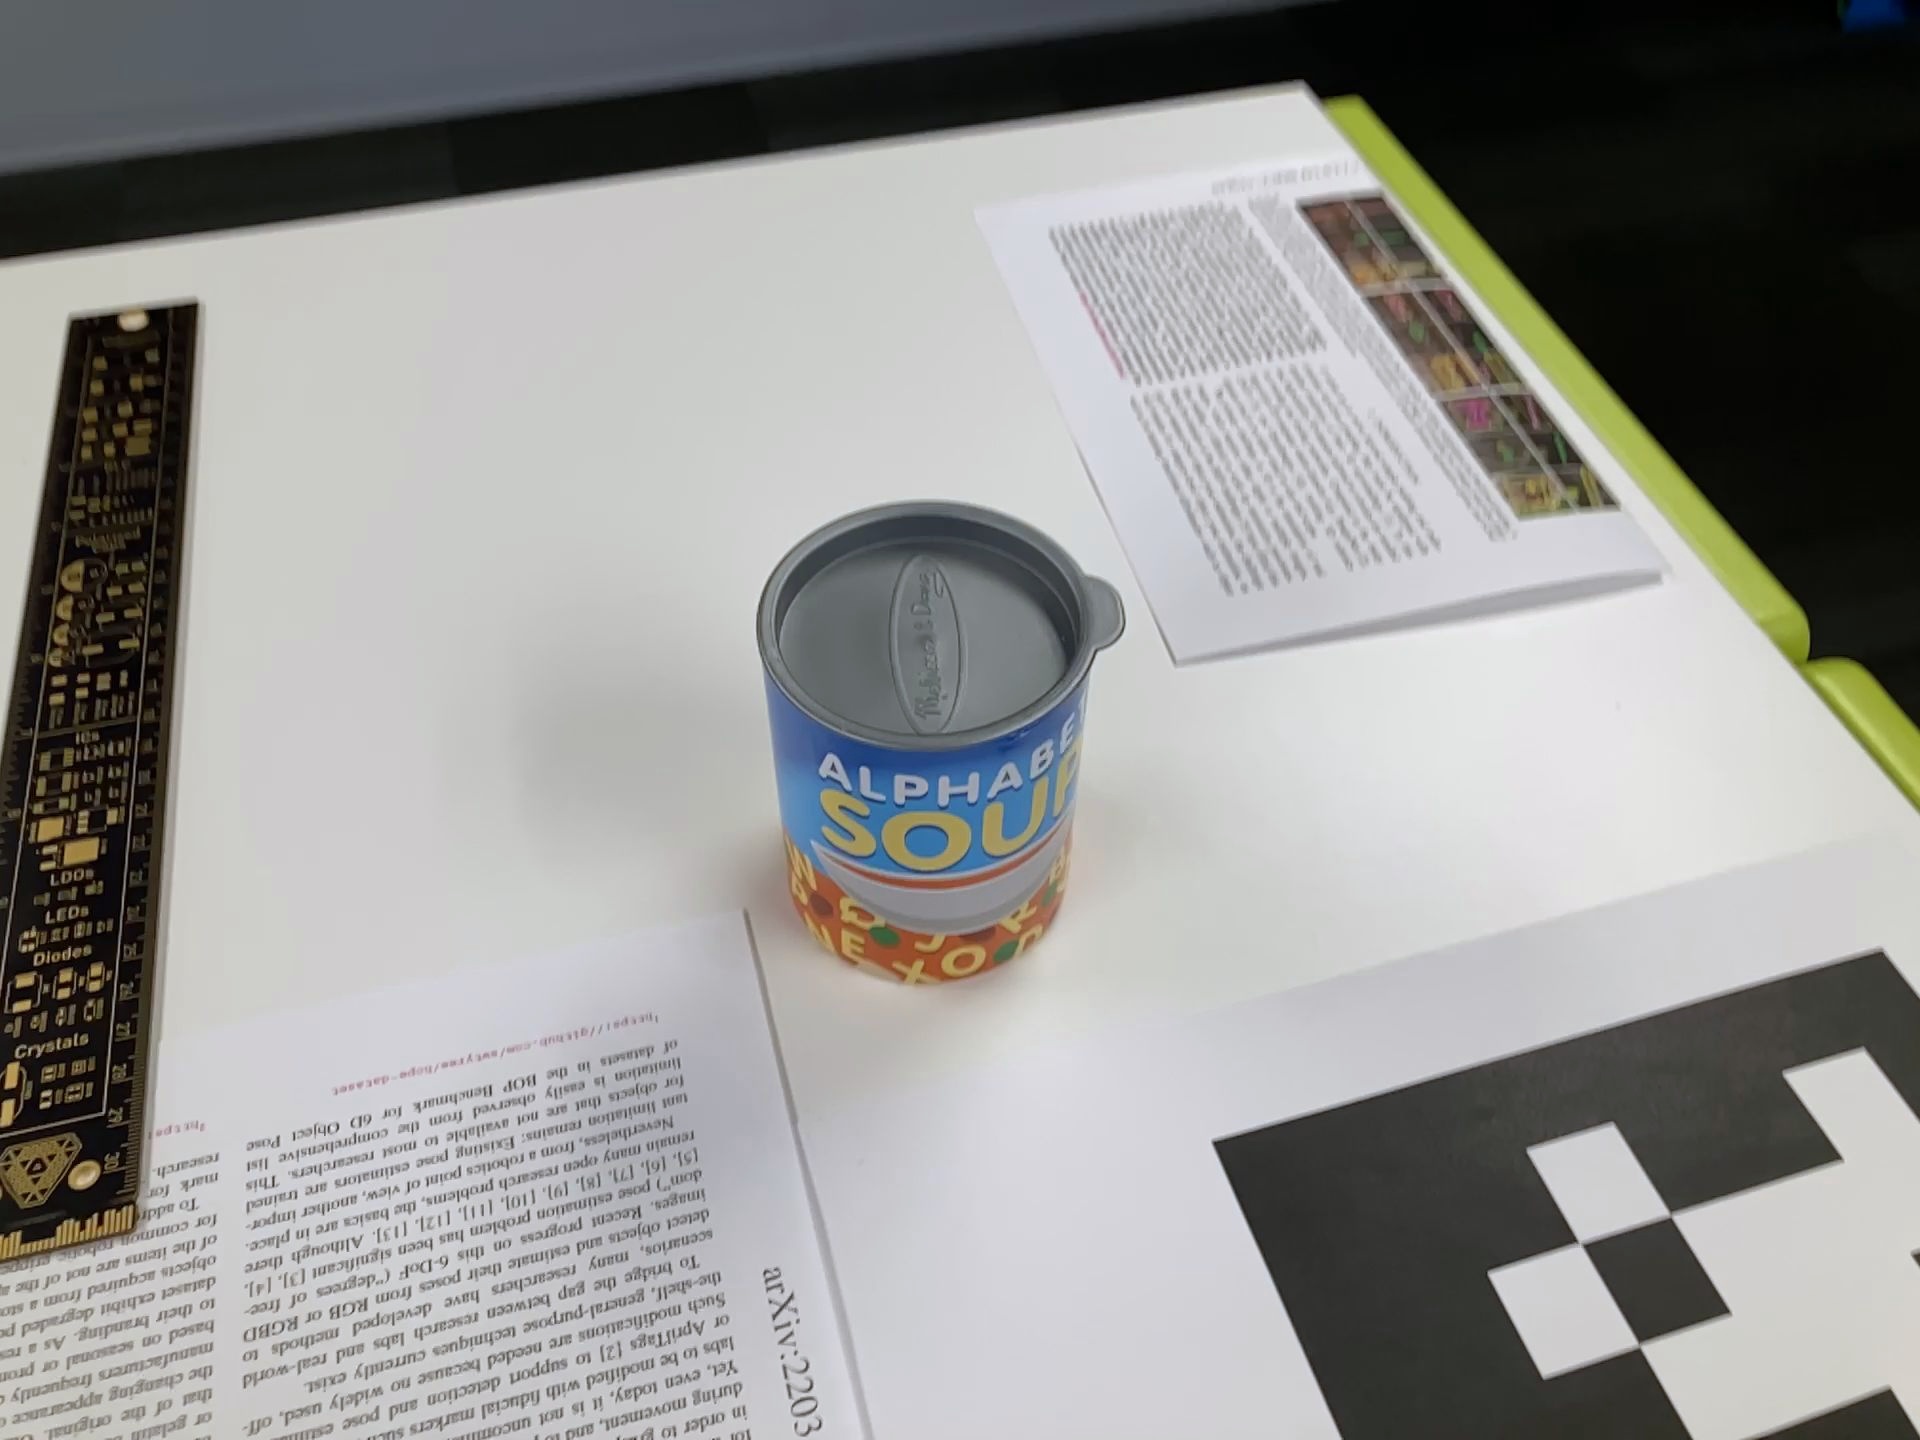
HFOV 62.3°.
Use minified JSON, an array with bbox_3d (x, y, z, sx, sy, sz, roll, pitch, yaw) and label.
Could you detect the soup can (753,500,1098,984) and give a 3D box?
[{"bbox_3d":[-0.006,0.009,0.335,0.071,0.084,0.071,0,49,0],"label":"soup can"}]
